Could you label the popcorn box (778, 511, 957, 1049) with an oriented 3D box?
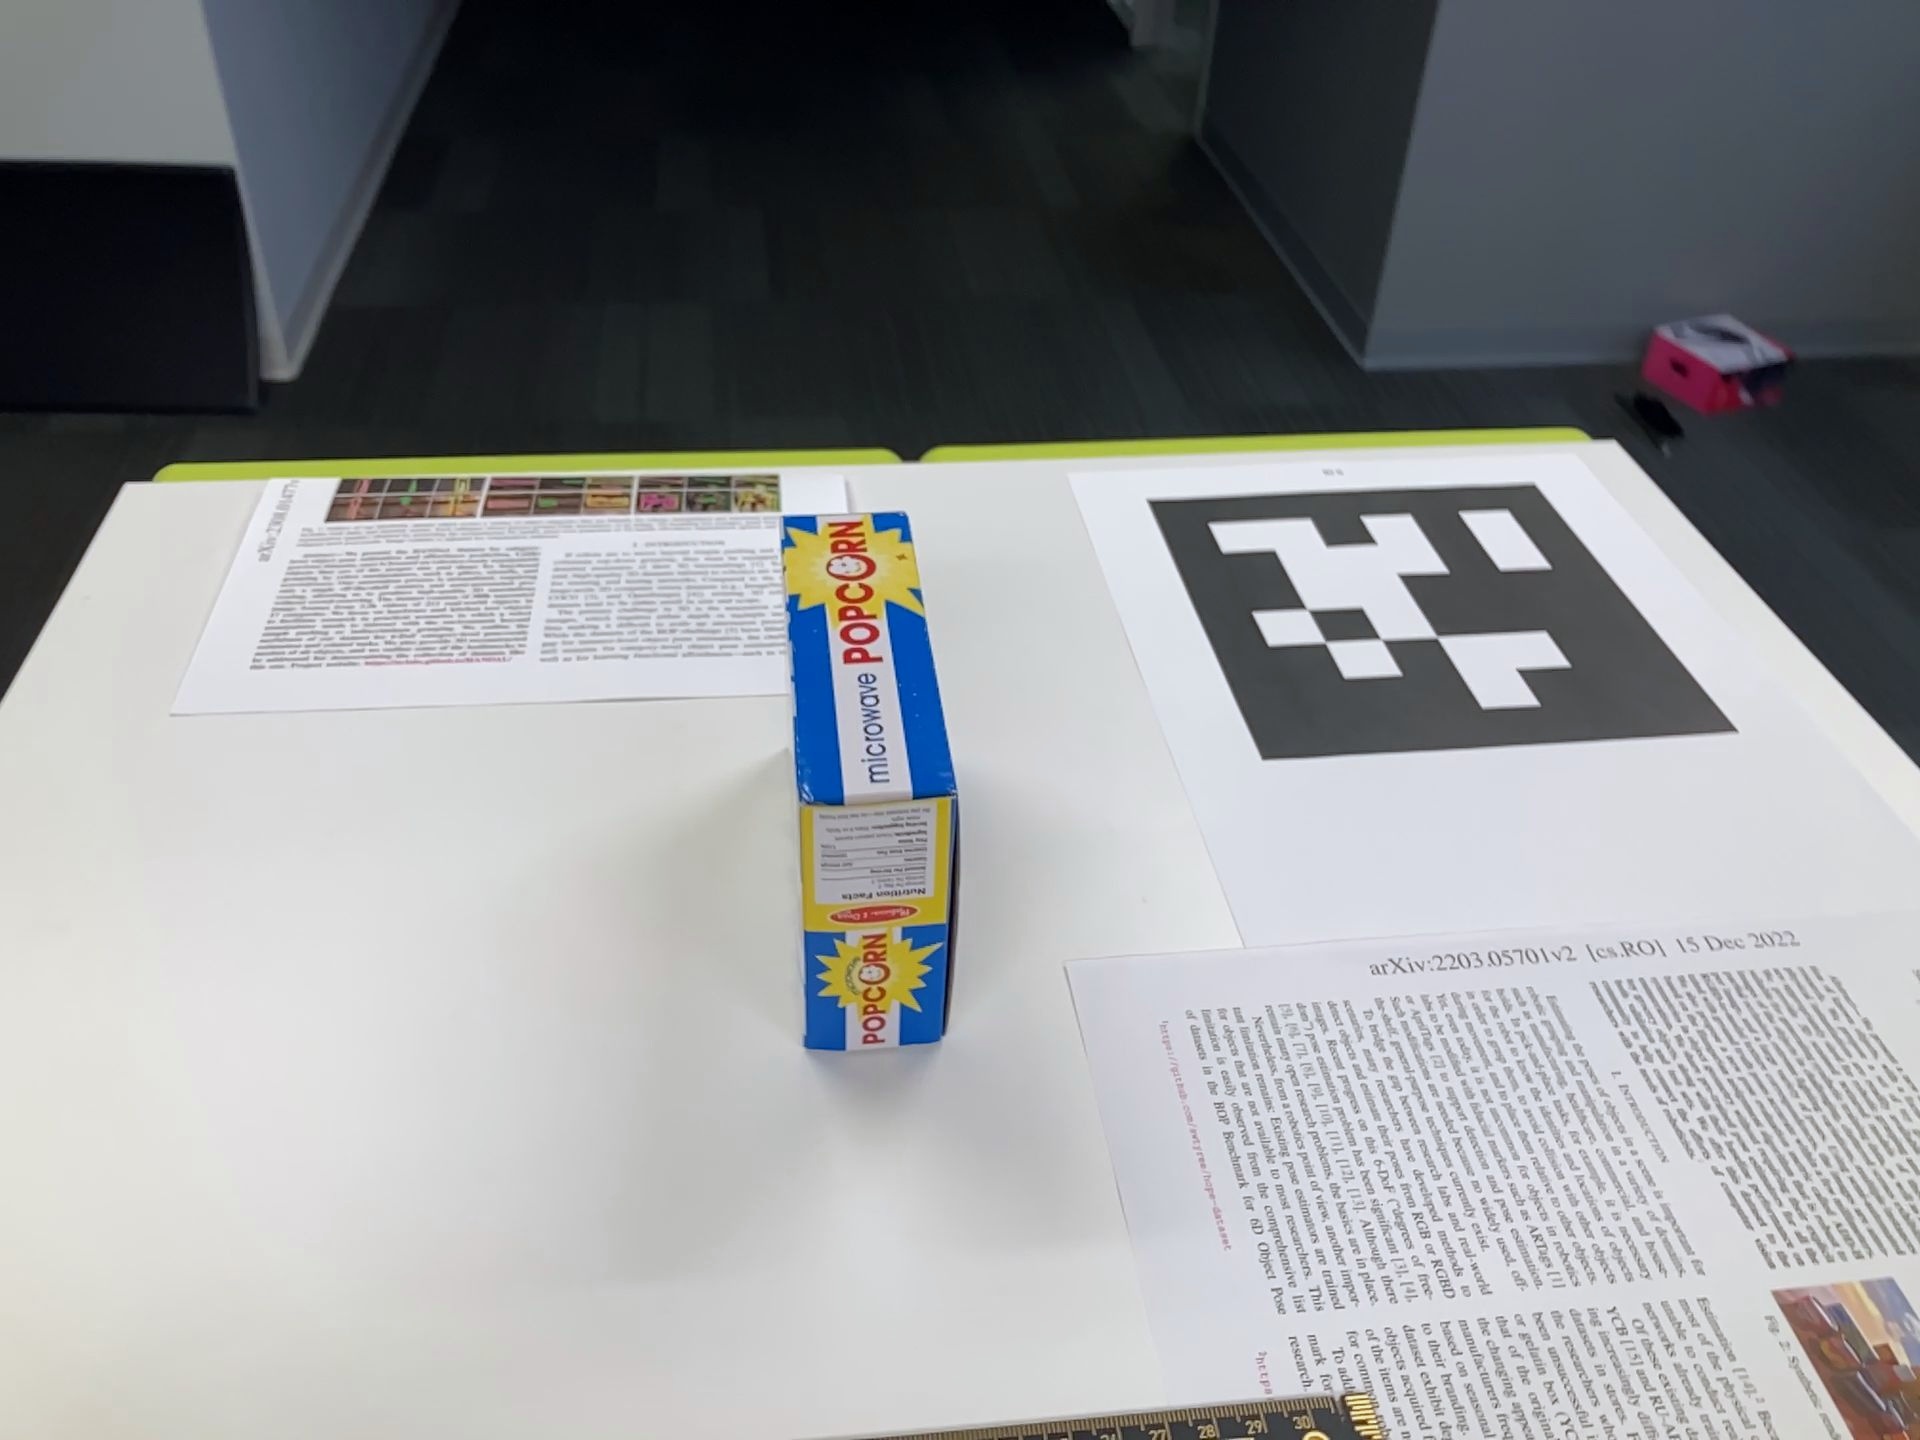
[{"bbox_3d":[-0.027,0.012,0.427,0.038,0.085,0.126,-3,39,-6],"label":"popcorn box"}]
